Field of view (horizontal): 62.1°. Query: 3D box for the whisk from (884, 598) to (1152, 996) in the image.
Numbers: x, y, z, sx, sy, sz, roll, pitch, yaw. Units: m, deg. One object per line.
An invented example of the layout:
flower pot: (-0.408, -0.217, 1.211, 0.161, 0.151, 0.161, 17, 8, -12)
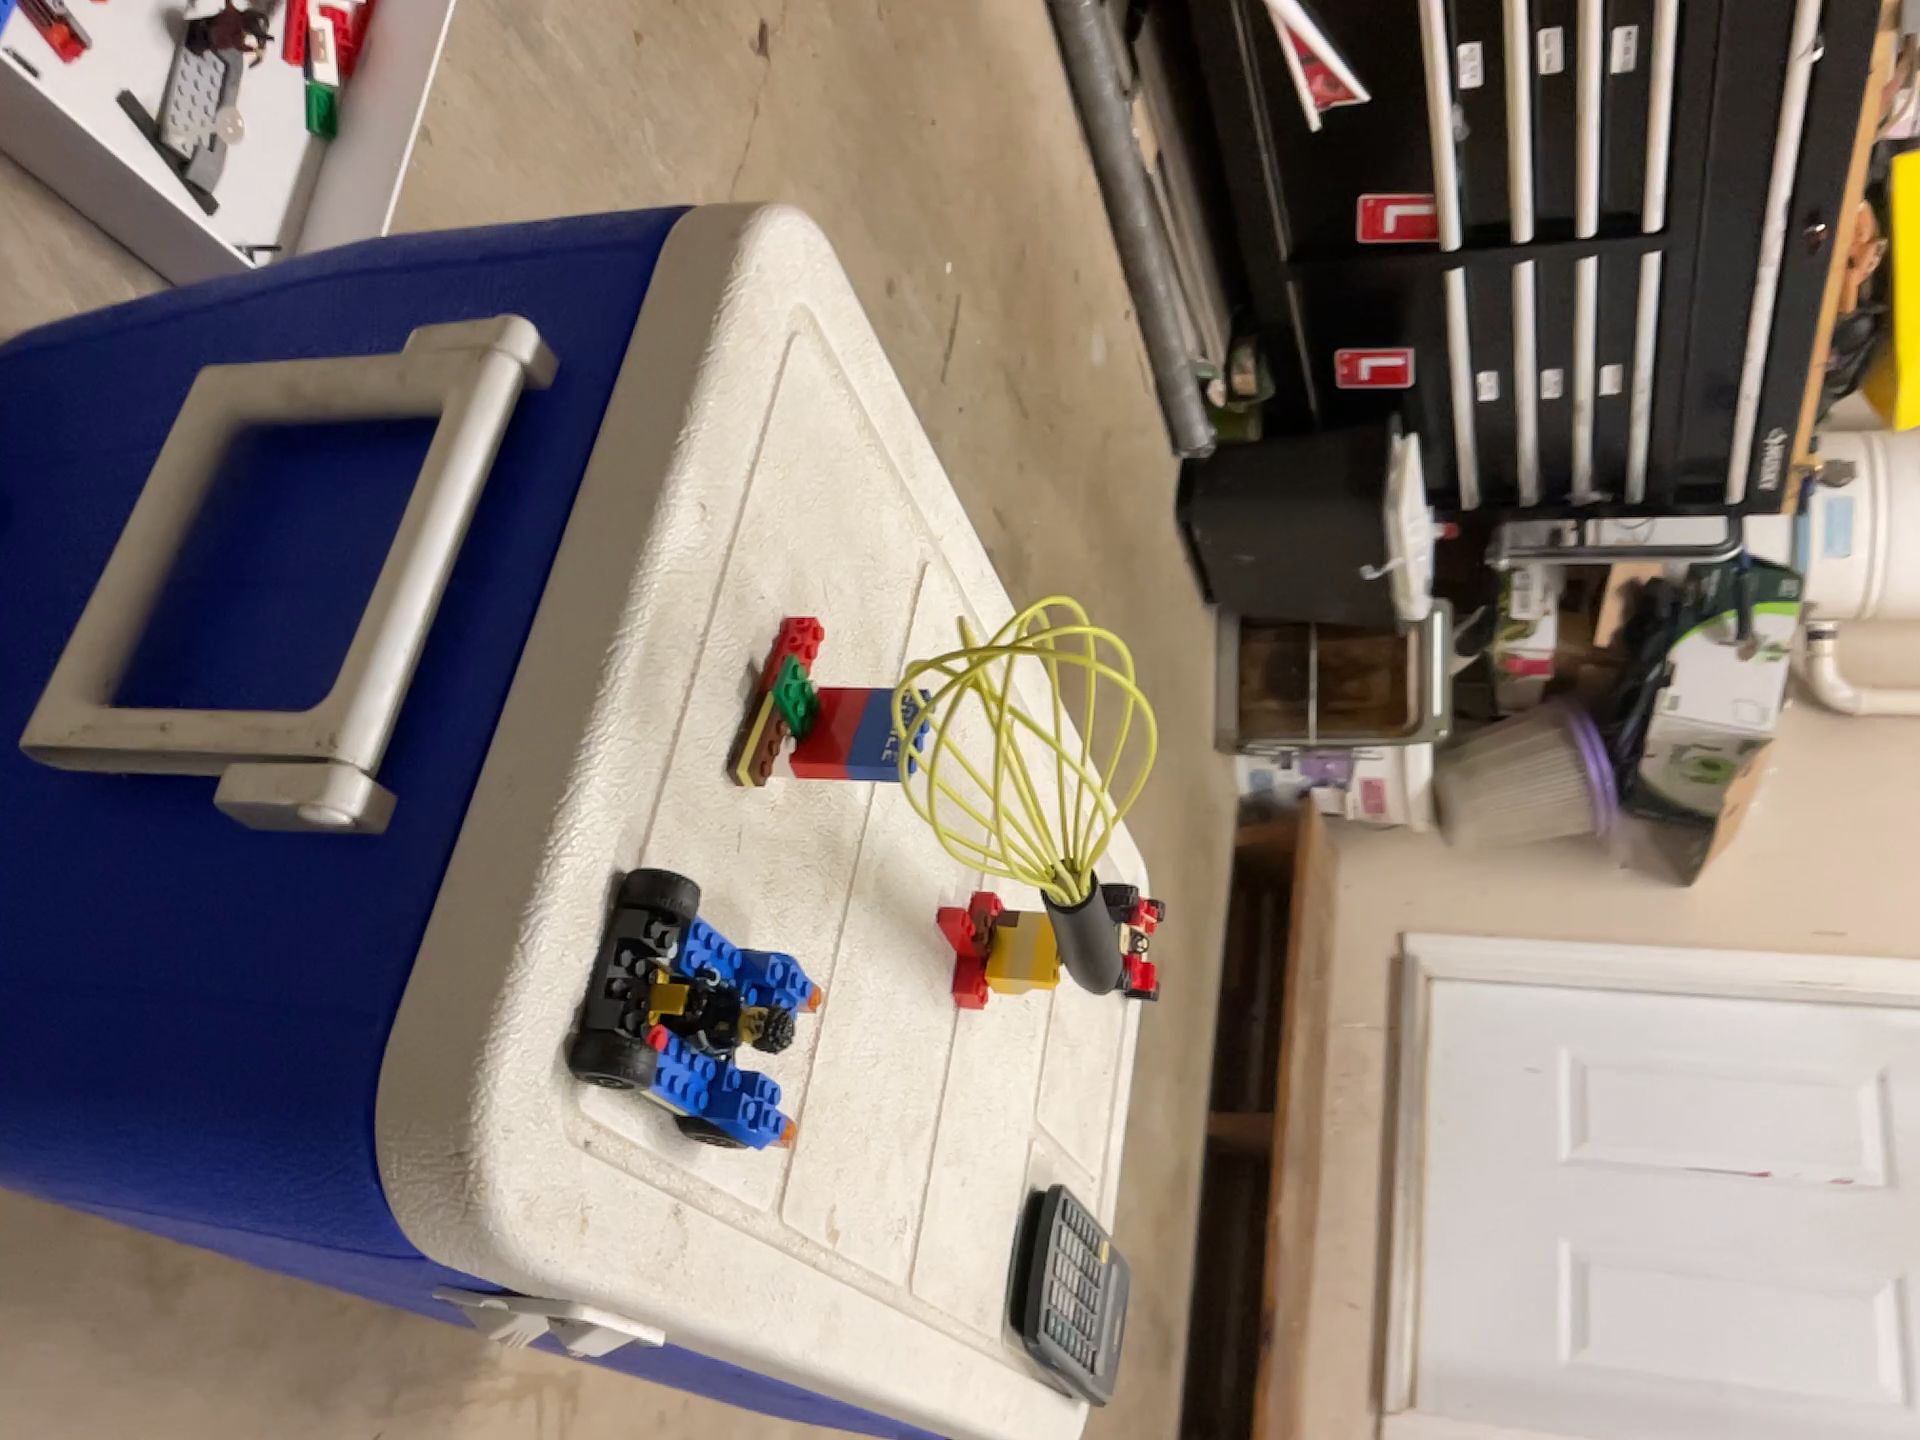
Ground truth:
whisk: (0.033, 0.046, 0.558, 0.080, 0.067, 0.311, -35, 153, -7)
